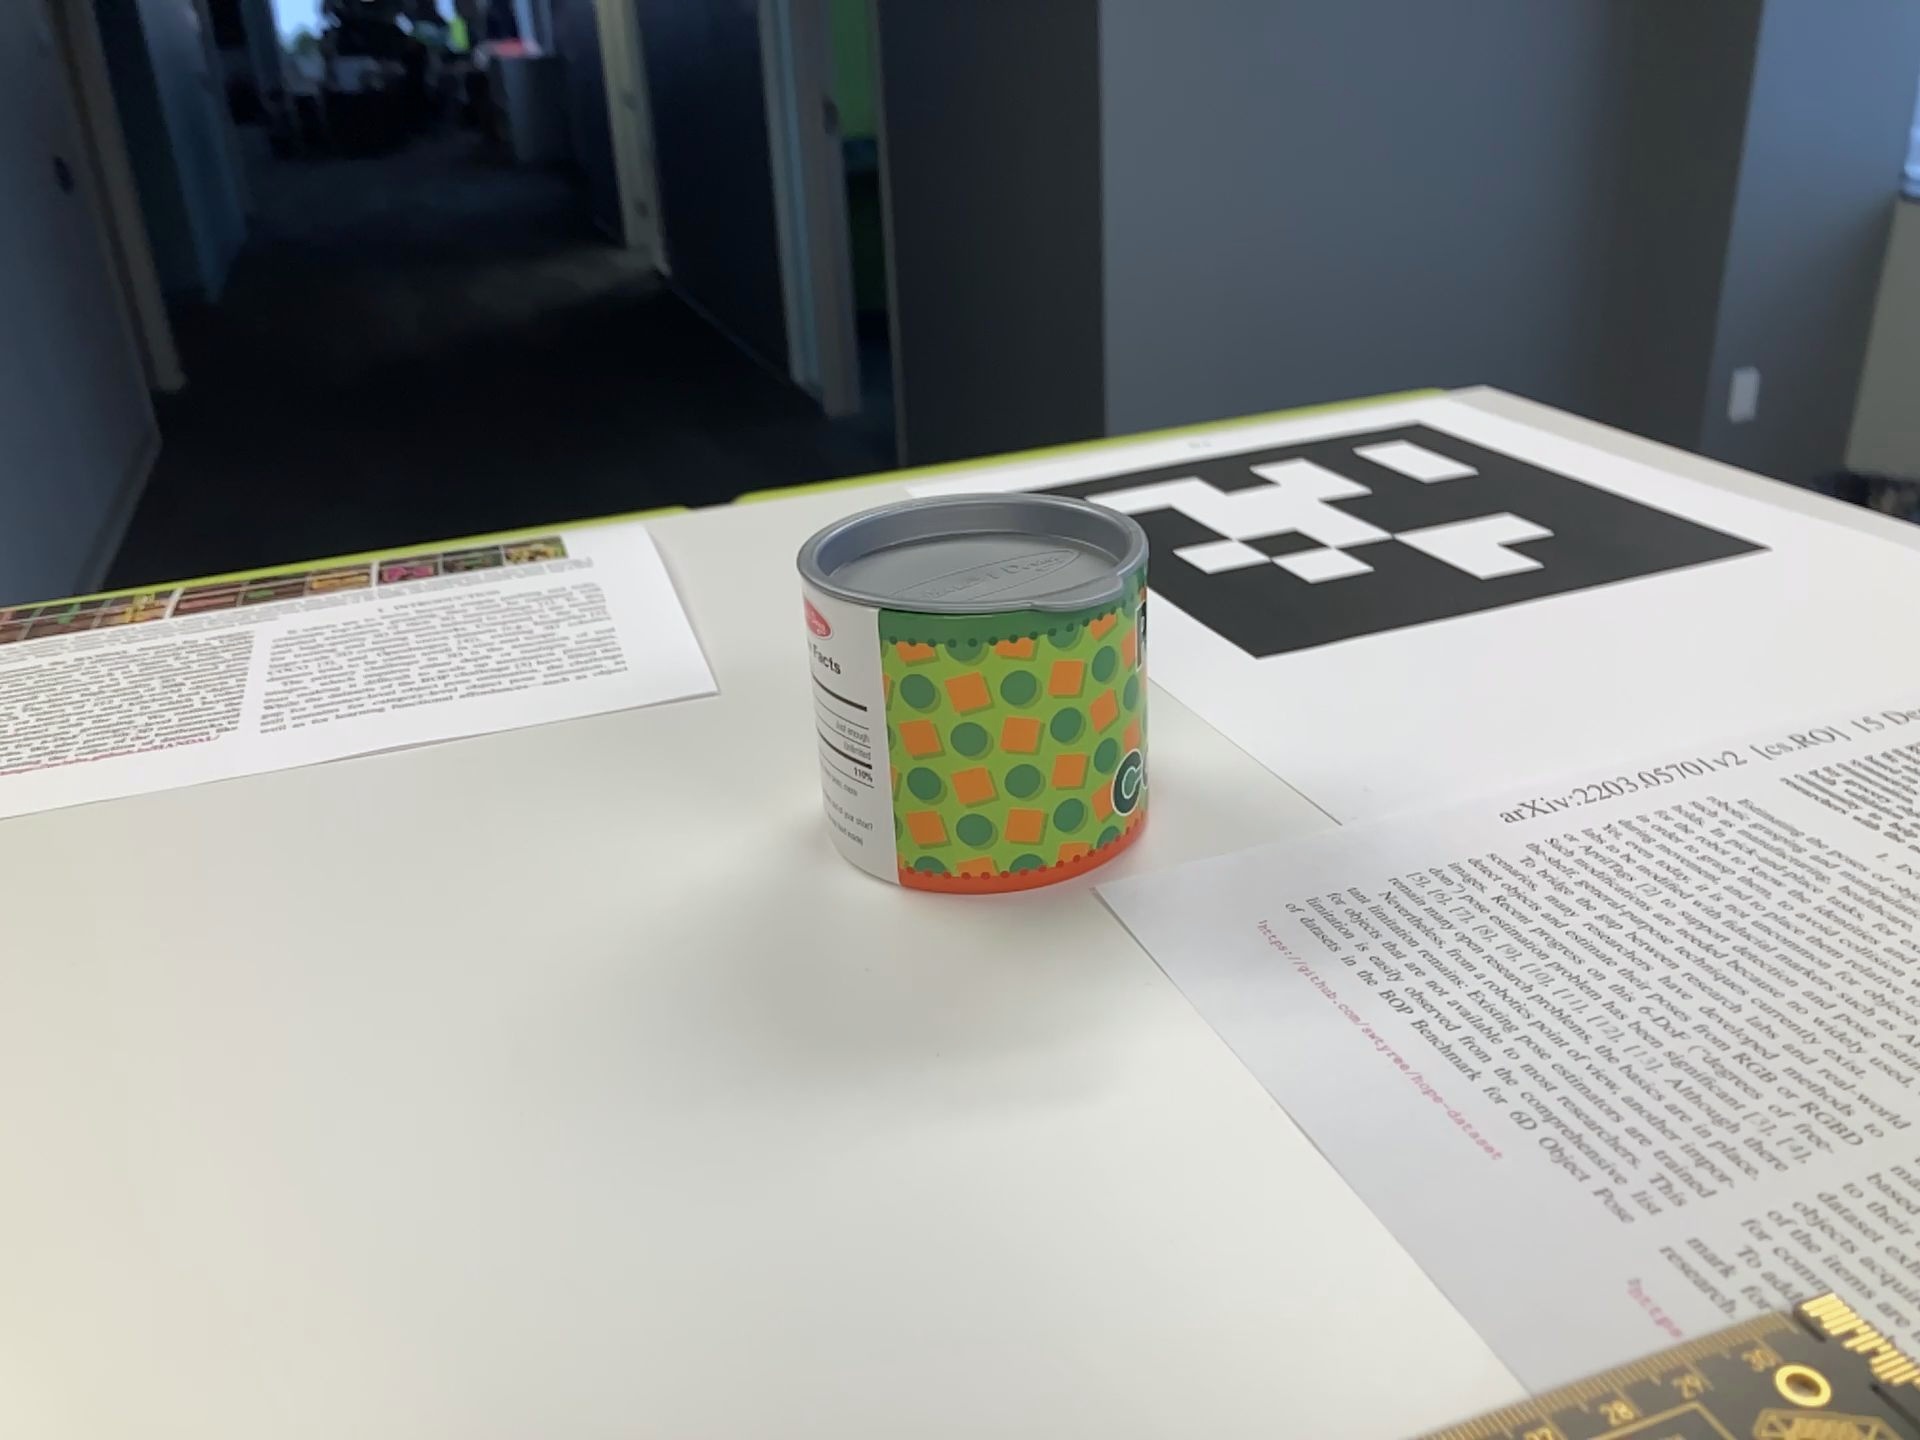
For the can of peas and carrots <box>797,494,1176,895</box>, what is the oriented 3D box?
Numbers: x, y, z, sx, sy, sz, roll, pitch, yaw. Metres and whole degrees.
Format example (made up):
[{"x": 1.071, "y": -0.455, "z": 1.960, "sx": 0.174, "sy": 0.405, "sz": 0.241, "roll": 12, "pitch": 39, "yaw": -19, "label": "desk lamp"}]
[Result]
[{"x": 0.006, "y": -0.007, "z": 0.310, "sx": 0.071, "sy": 0.059, "sz": 0.071, "roll": -3, "pitch": 25, "yaw": 1, "label": "can of peas and carrots"}]
